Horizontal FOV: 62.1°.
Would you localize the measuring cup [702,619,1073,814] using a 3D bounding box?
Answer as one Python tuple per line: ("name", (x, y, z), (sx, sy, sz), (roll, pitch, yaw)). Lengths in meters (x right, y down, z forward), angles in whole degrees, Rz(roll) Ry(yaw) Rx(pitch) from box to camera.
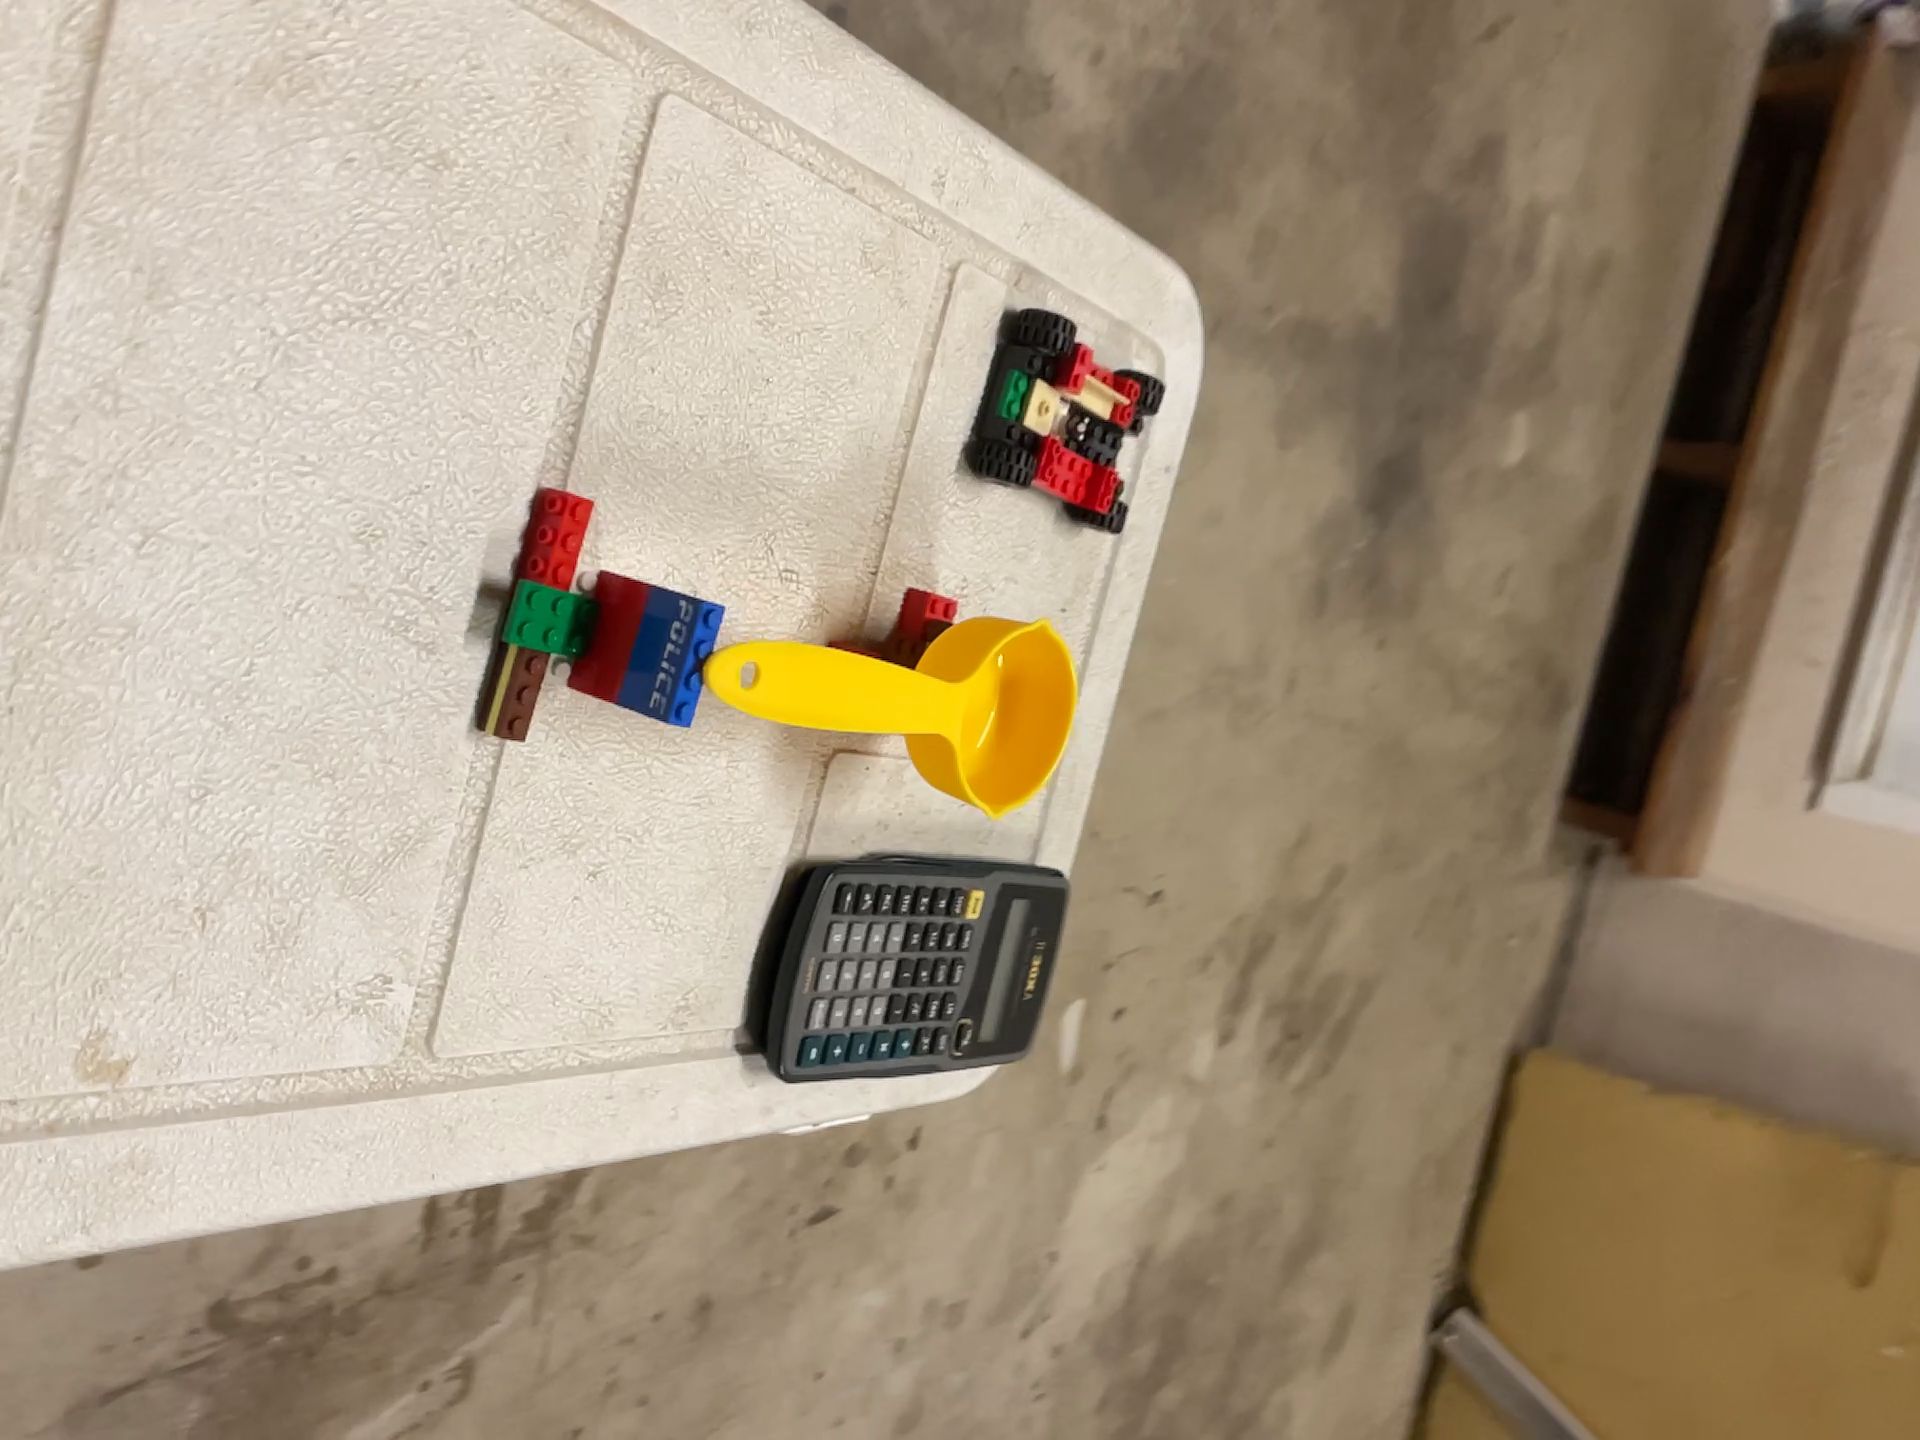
("measuring cup", (-0.023, -0.009, 0.464), (0.156, 0.029, 0.062), (9, 96, -51))
